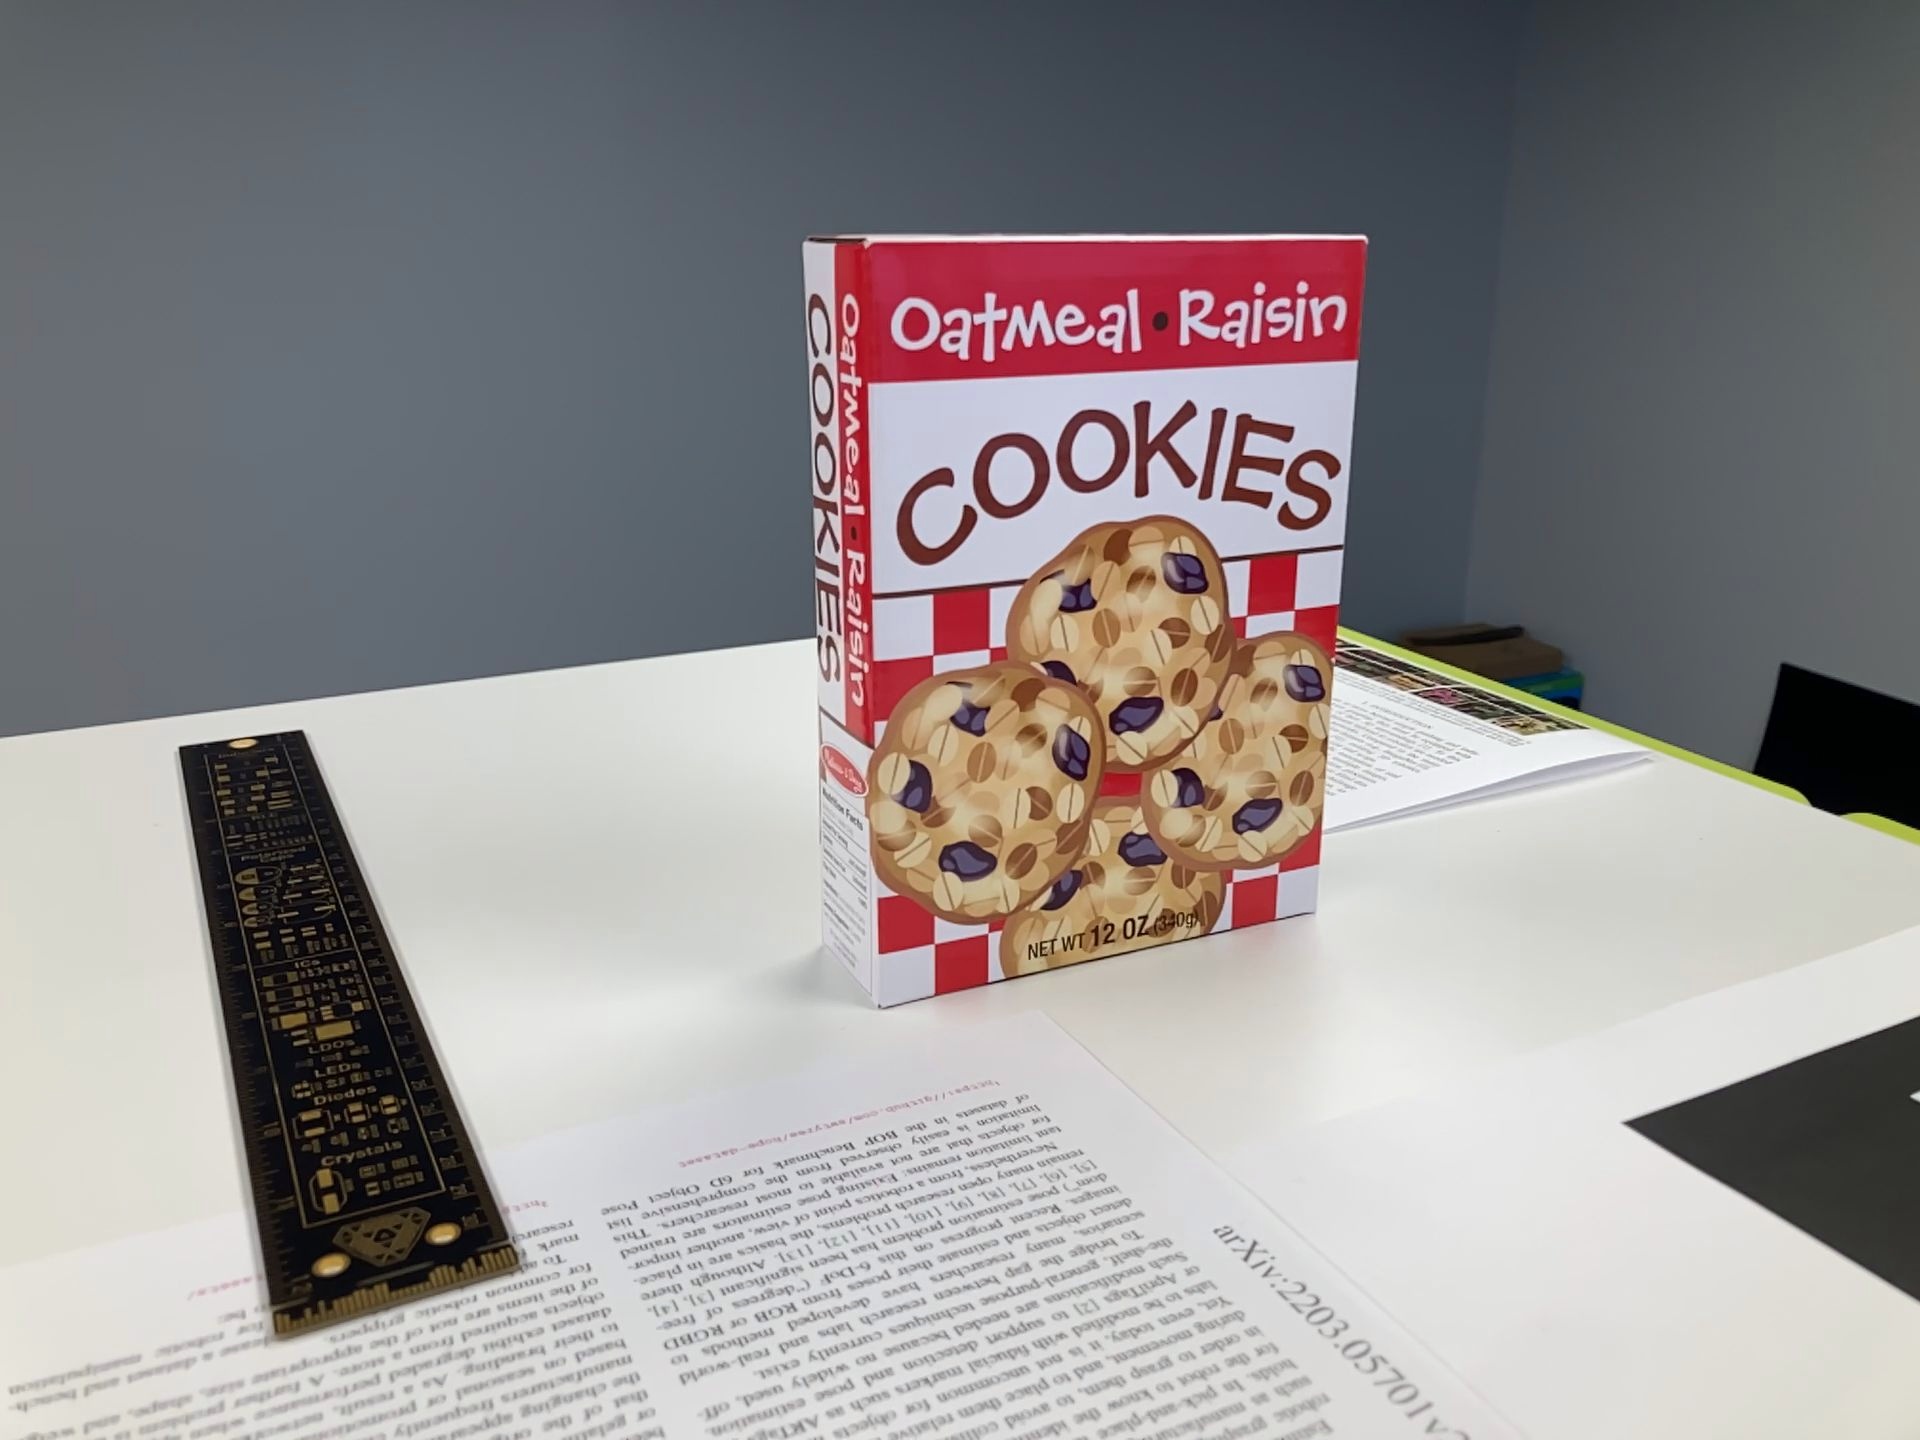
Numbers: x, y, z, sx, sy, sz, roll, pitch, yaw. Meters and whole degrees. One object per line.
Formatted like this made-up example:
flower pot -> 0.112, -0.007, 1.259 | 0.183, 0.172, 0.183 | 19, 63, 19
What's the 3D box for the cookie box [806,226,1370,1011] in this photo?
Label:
cookie box -> 0.029, -0.028, 0.370 | 0.123, 0.167, 0.040 | -8, 19, -24
